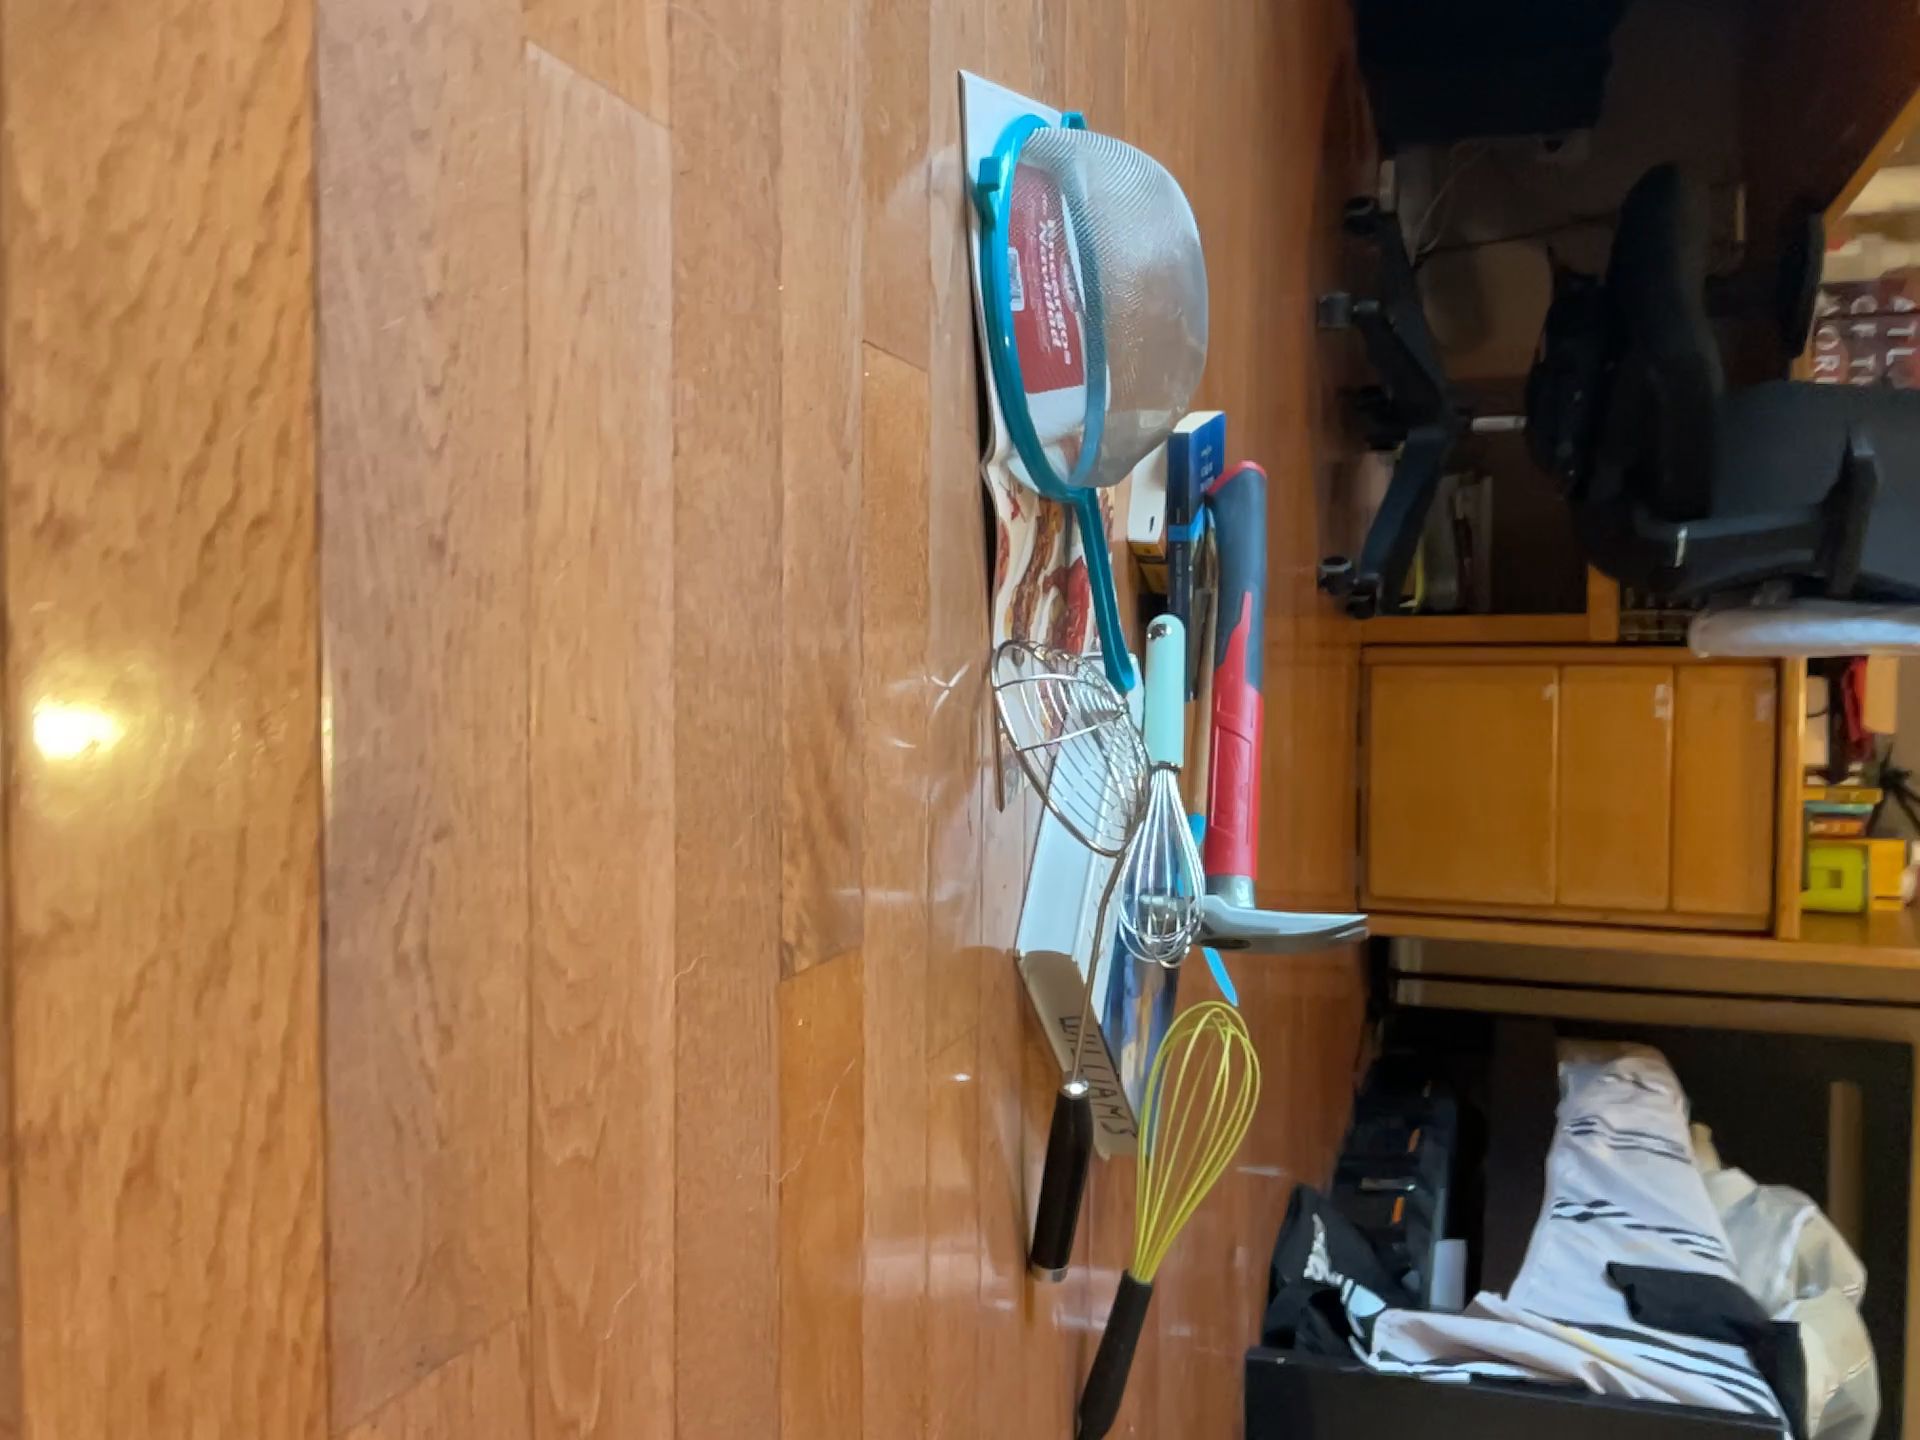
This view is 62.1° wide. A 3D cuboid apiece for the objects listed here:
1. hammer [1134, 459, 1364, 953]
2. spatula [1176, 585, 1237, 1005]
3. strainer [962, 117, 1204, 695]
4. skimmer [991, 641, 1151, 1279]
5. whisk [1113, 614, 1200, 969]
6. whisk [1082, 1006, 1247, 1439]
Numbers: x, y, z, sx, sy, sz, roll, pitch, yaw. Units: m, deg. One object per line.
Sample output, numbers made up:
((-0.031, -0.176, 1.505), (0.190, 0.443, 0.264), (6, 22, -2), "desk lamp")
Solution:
((0.206, -0.023, 1.101), (0.038, 0.143, 0.387), (69, 25, -55), "hammer")
((0.187, 0.046, 1.169), (0.082, 0.044, 0.318), (49, 45, -61), "spatula")
((0.098, -0.173, 0.903), (0.211, 0.095, 0.340), (-57, 137, -59), "strainer")
((0.042, 0.140, 0.881), (0.127, 0.090, 0.363), (-41, 140, -69), "skimmer")
((0.126, 0.039, 0.998), (0.059, 0.057, 0.247), (29, 53, -35), "whisk")
((0.123, 0.334, 1.032), (0.080, 0.067, 0.312), (4, 101, -87), "whisk")
